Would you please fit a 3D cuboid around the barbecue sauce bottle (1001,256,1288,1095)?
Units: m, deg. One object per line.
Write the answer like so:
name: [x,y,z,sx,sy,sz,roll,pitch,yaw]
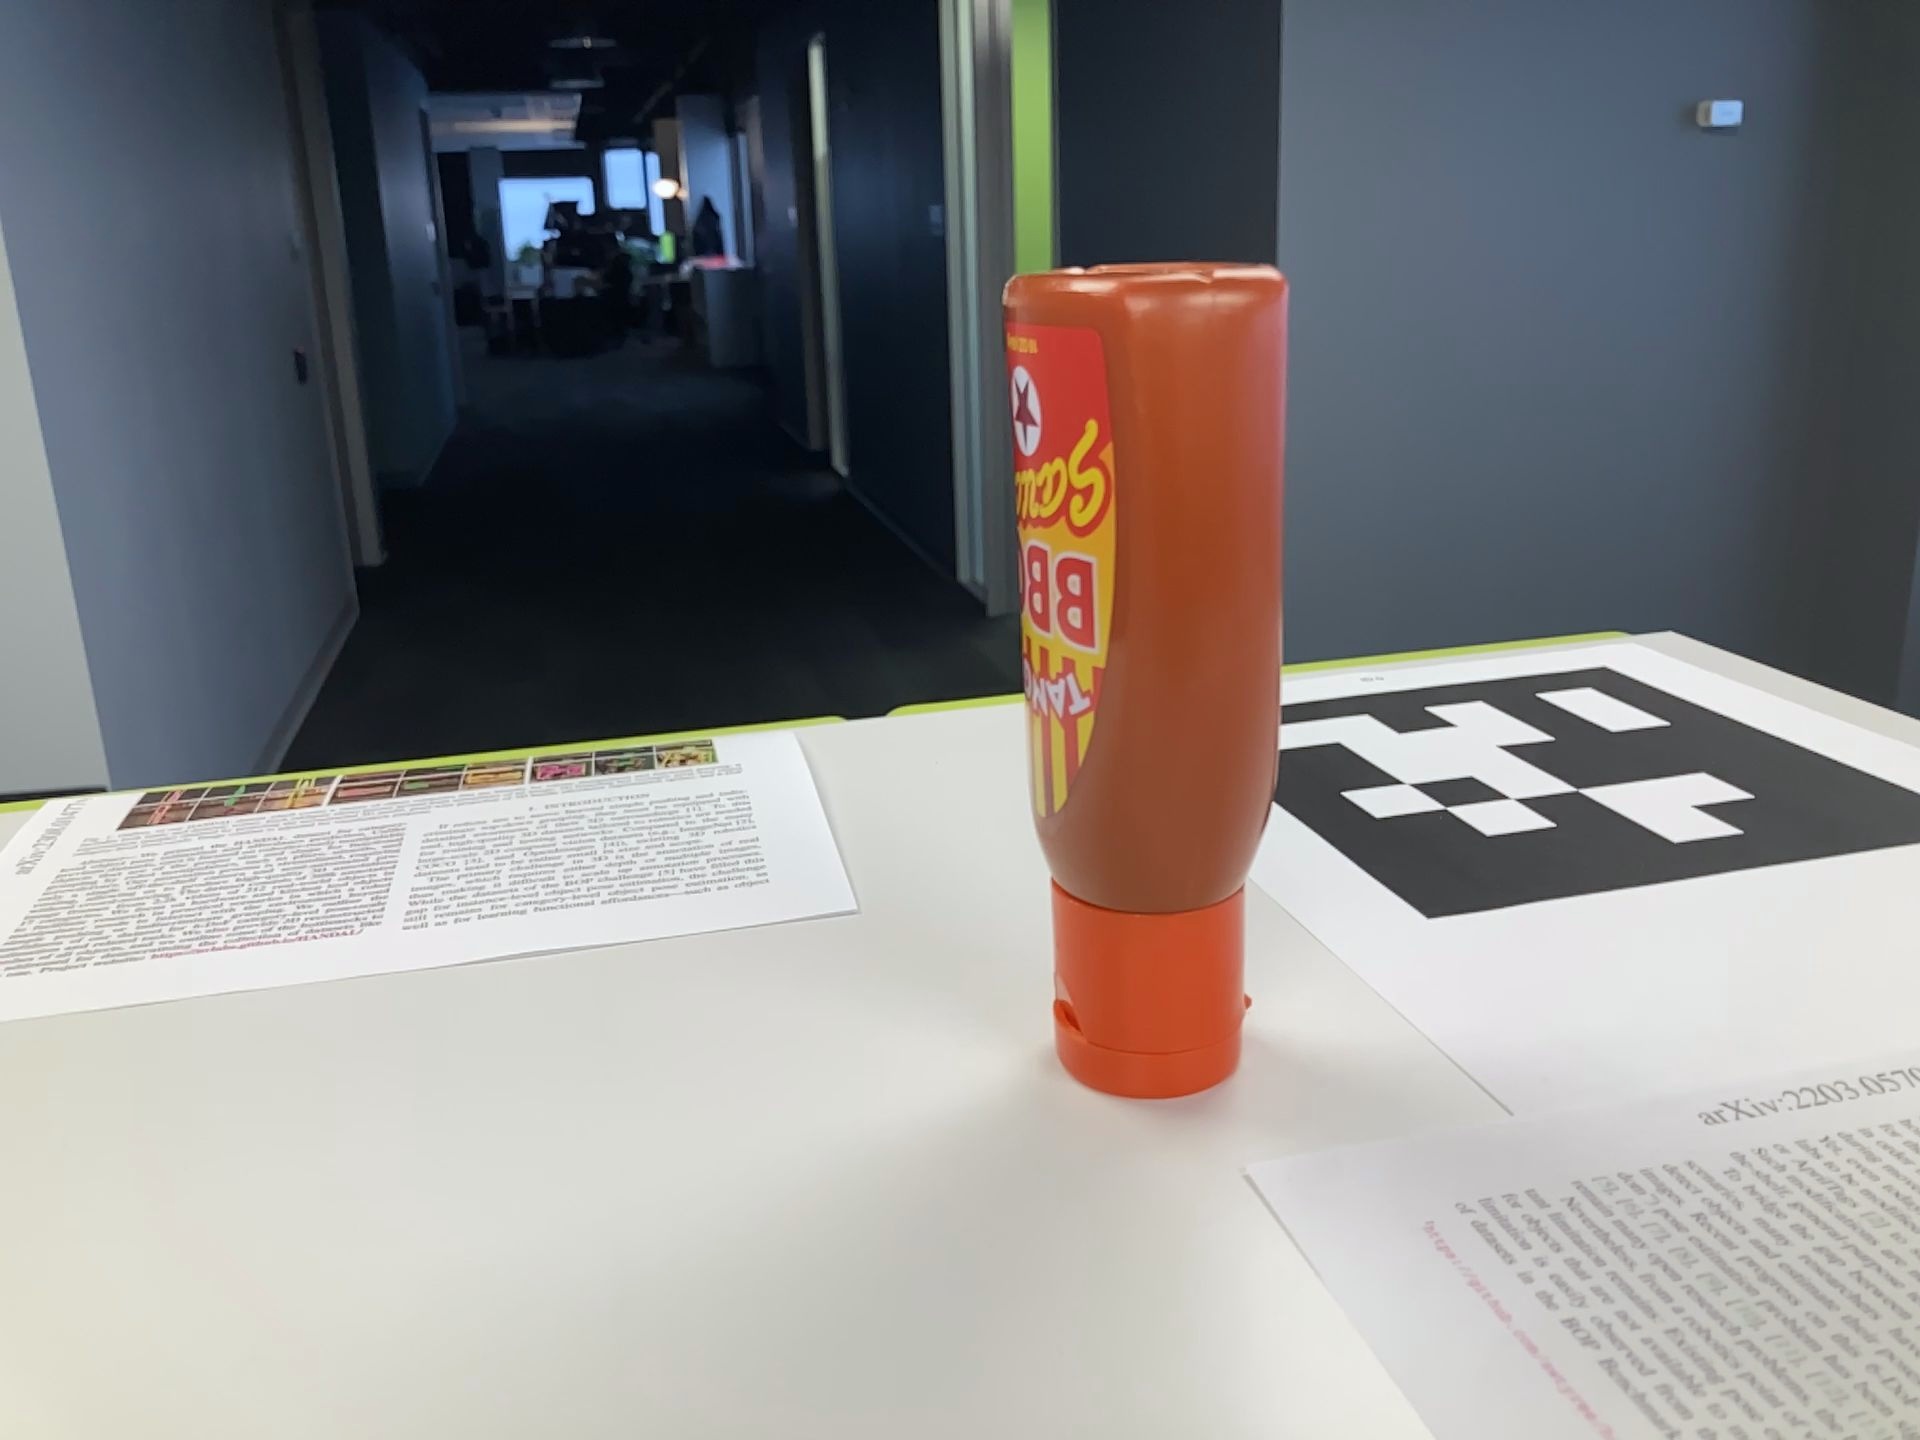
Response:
barbecue sauce bottle: [0.033,-0.006,0.288,0.043,0.148,0.065,-7,17,-14]
